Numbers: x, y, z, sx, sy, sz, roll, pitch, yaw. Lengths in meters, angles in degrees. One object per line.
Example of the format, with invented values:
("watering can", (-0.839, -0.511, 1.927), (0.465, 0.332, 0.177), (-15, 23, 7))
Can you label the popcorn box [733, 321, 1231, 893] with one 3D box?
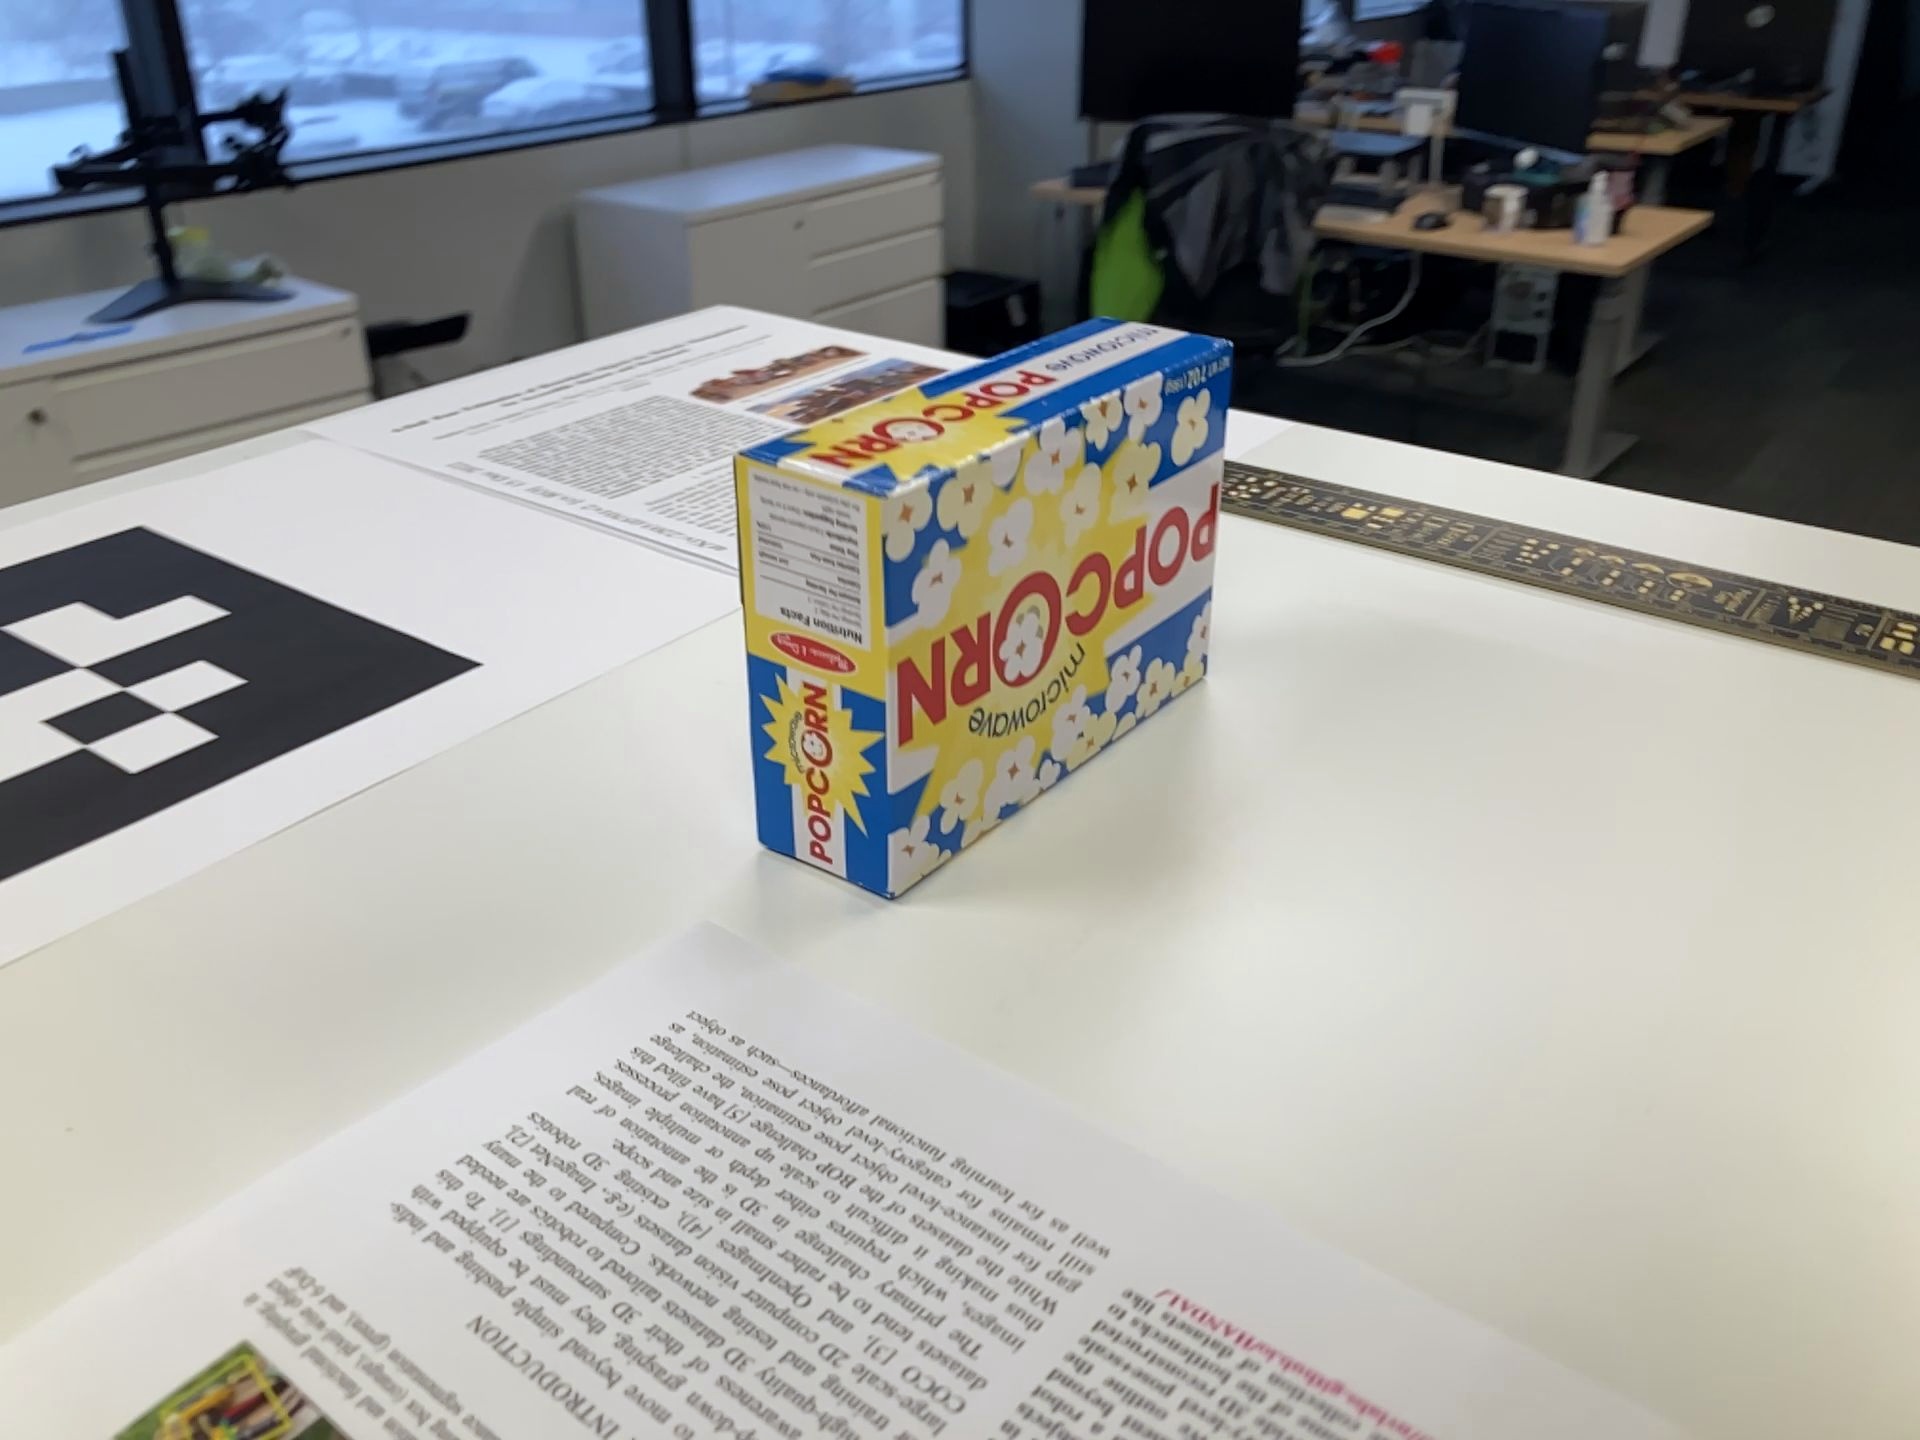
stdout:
("popcorn box", (0.010, -0.030, 0.341), (0.038, 0.085, 0.126), (20, 34, 32))
